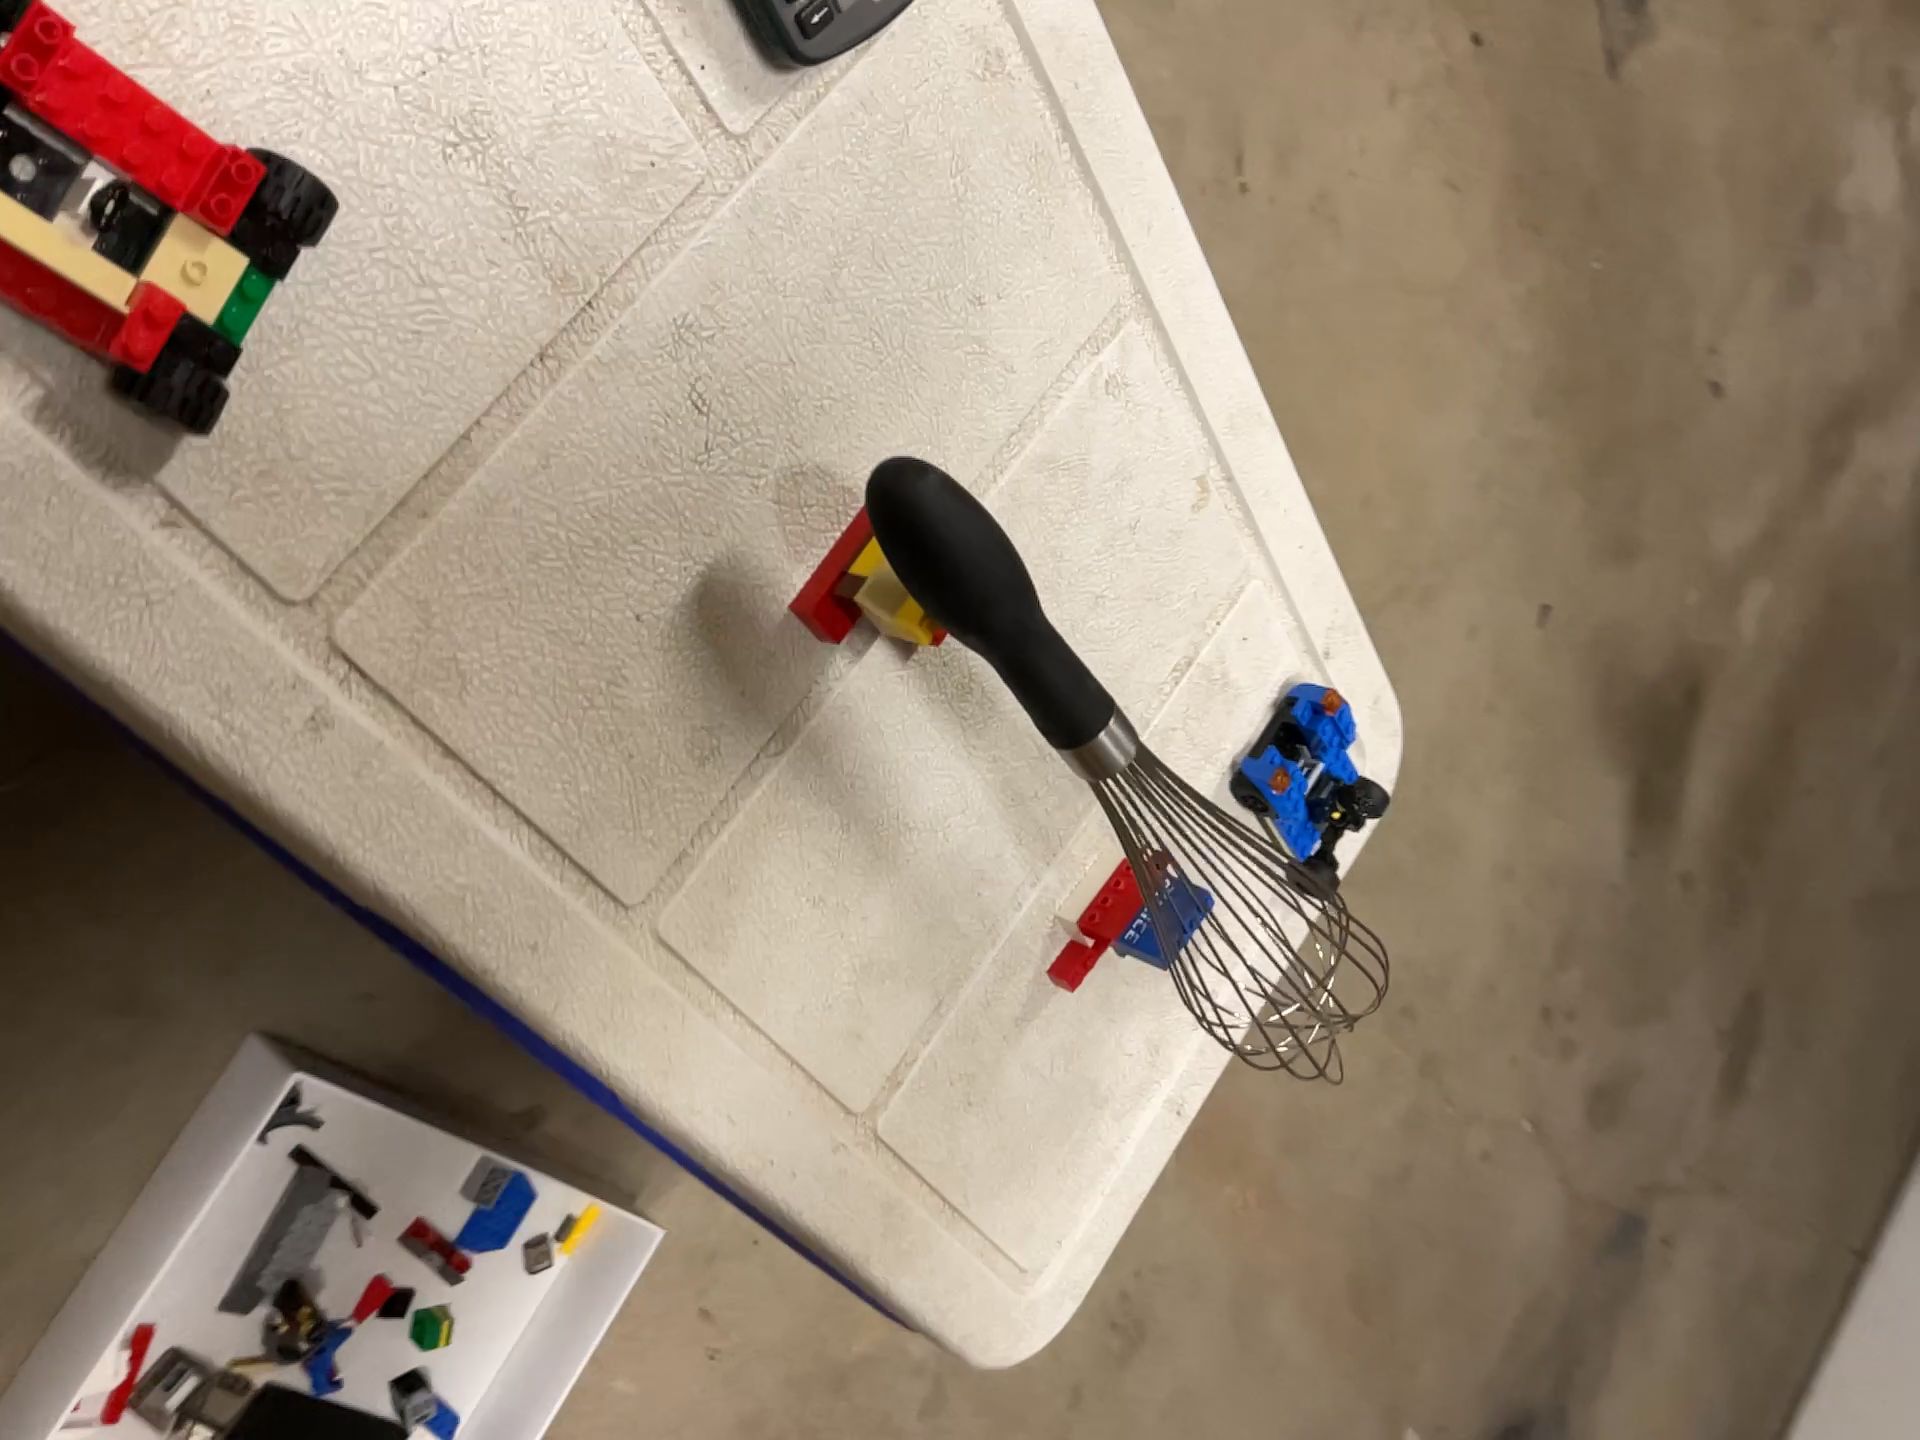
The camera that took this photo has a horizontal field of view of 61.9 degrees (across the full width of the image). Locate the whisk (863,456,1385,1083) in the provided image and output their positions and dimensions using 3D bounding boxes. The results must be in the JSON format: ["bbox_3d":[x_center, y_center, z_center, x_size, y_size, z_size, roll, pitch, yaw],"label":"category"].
[{"bbox_3d":[0.056,0.025,0.484,0.070,0.070,0.284,-51,127,-14],"label":"whisk"}]
